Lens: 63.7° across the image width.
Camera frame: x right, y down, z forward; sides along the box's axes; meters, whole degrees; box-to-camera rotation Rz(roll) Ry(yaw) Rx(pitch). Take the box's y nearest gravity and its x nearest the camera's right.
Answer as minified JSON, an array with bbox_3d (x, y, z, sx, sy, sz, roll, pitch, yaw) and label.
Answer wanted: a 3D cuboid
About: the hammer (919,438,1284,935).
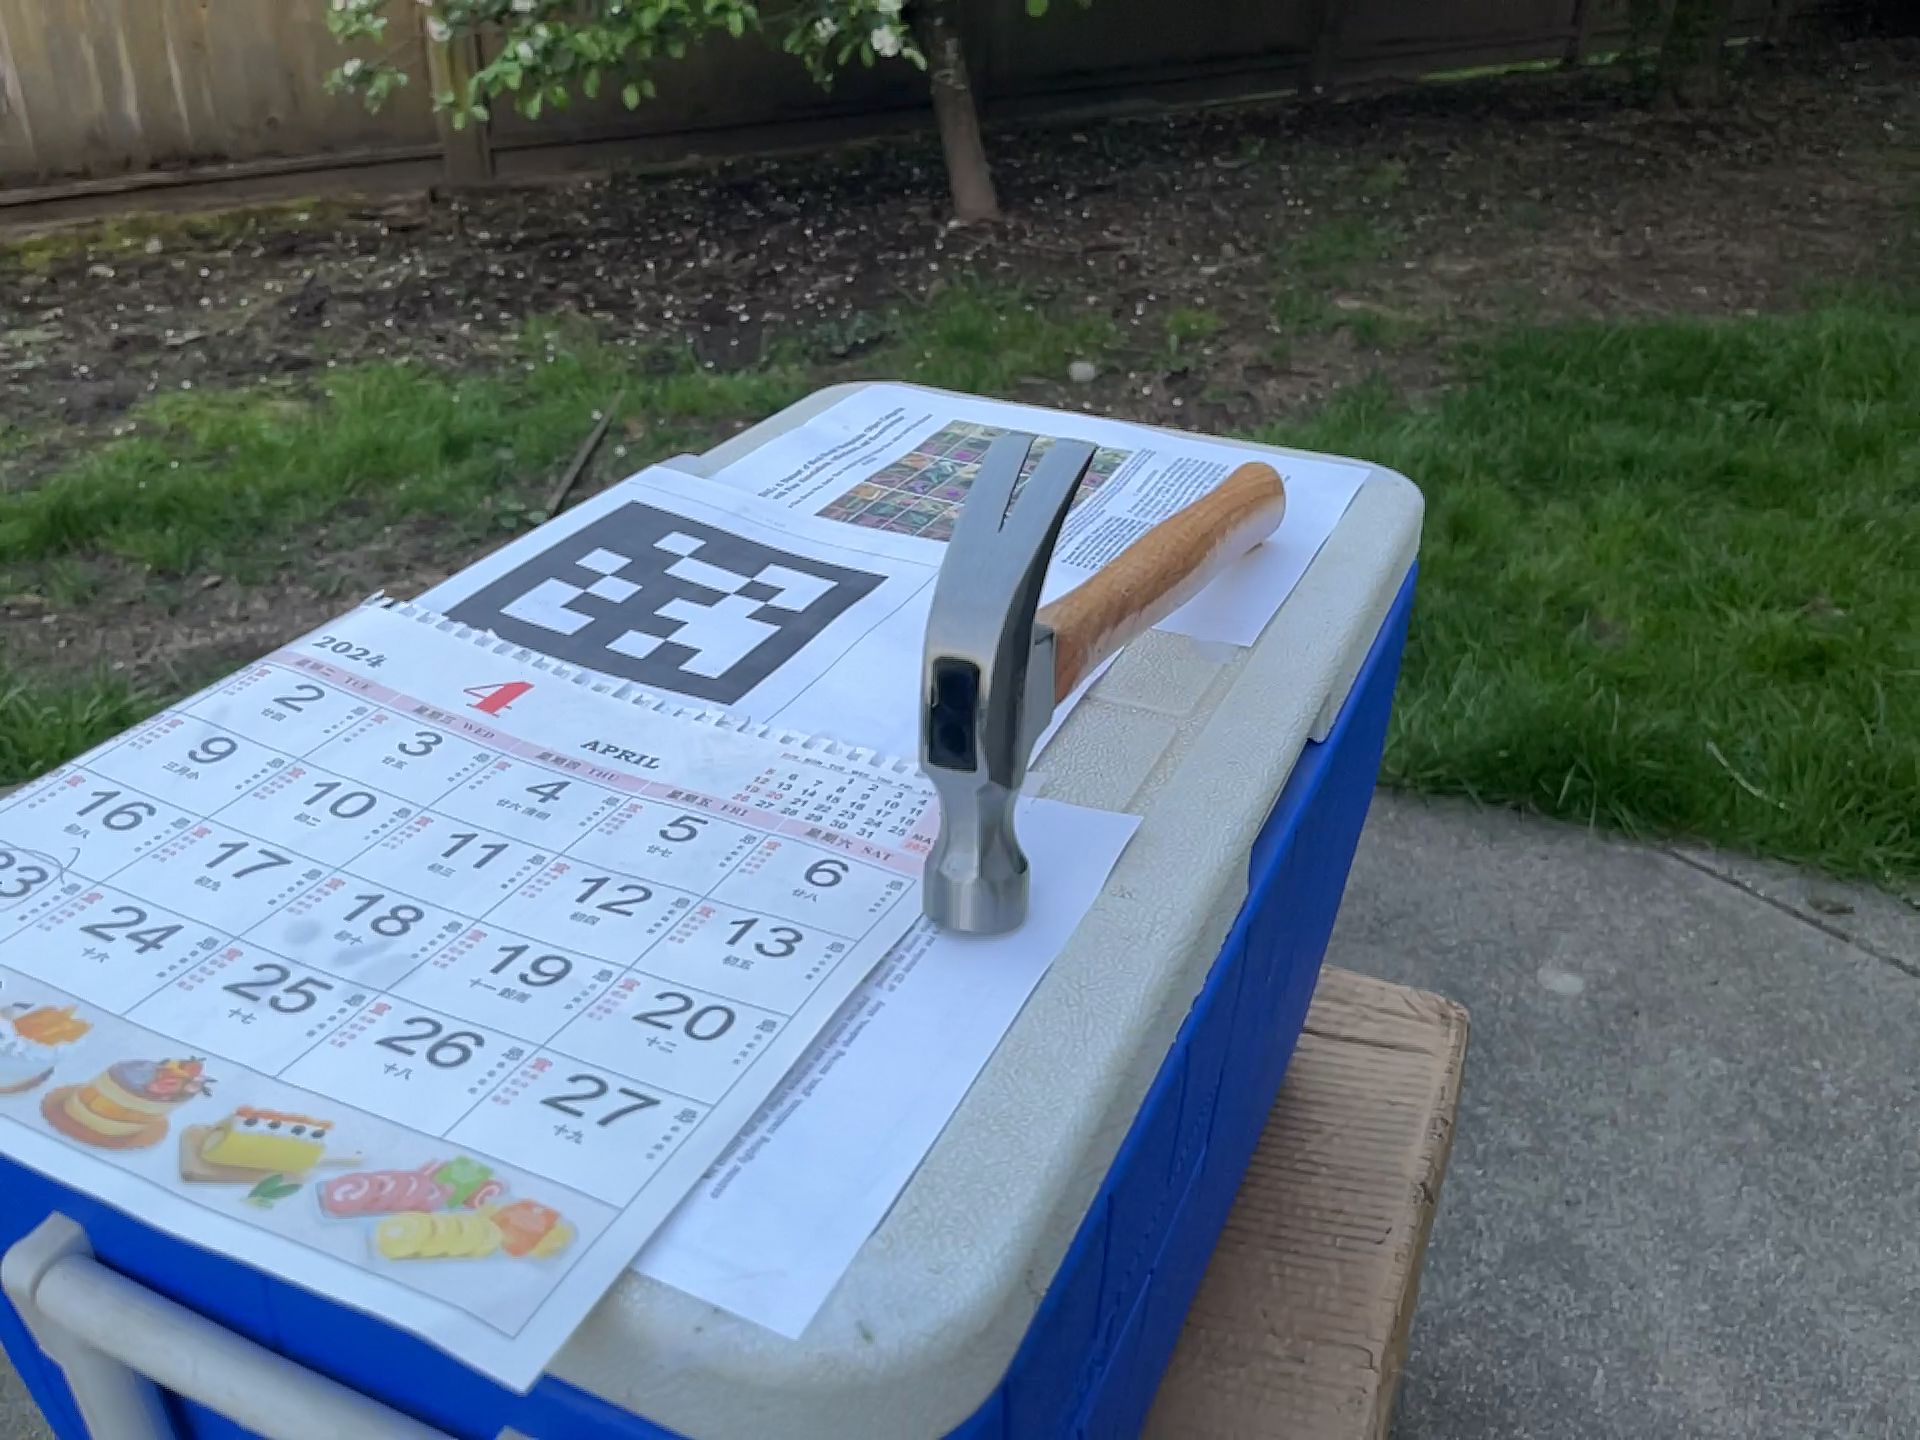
[{"bbox_3d":[0.066,-0.050,0.552,0.031,0.130,0.331,9,21,22],"label":"hammer"}]
